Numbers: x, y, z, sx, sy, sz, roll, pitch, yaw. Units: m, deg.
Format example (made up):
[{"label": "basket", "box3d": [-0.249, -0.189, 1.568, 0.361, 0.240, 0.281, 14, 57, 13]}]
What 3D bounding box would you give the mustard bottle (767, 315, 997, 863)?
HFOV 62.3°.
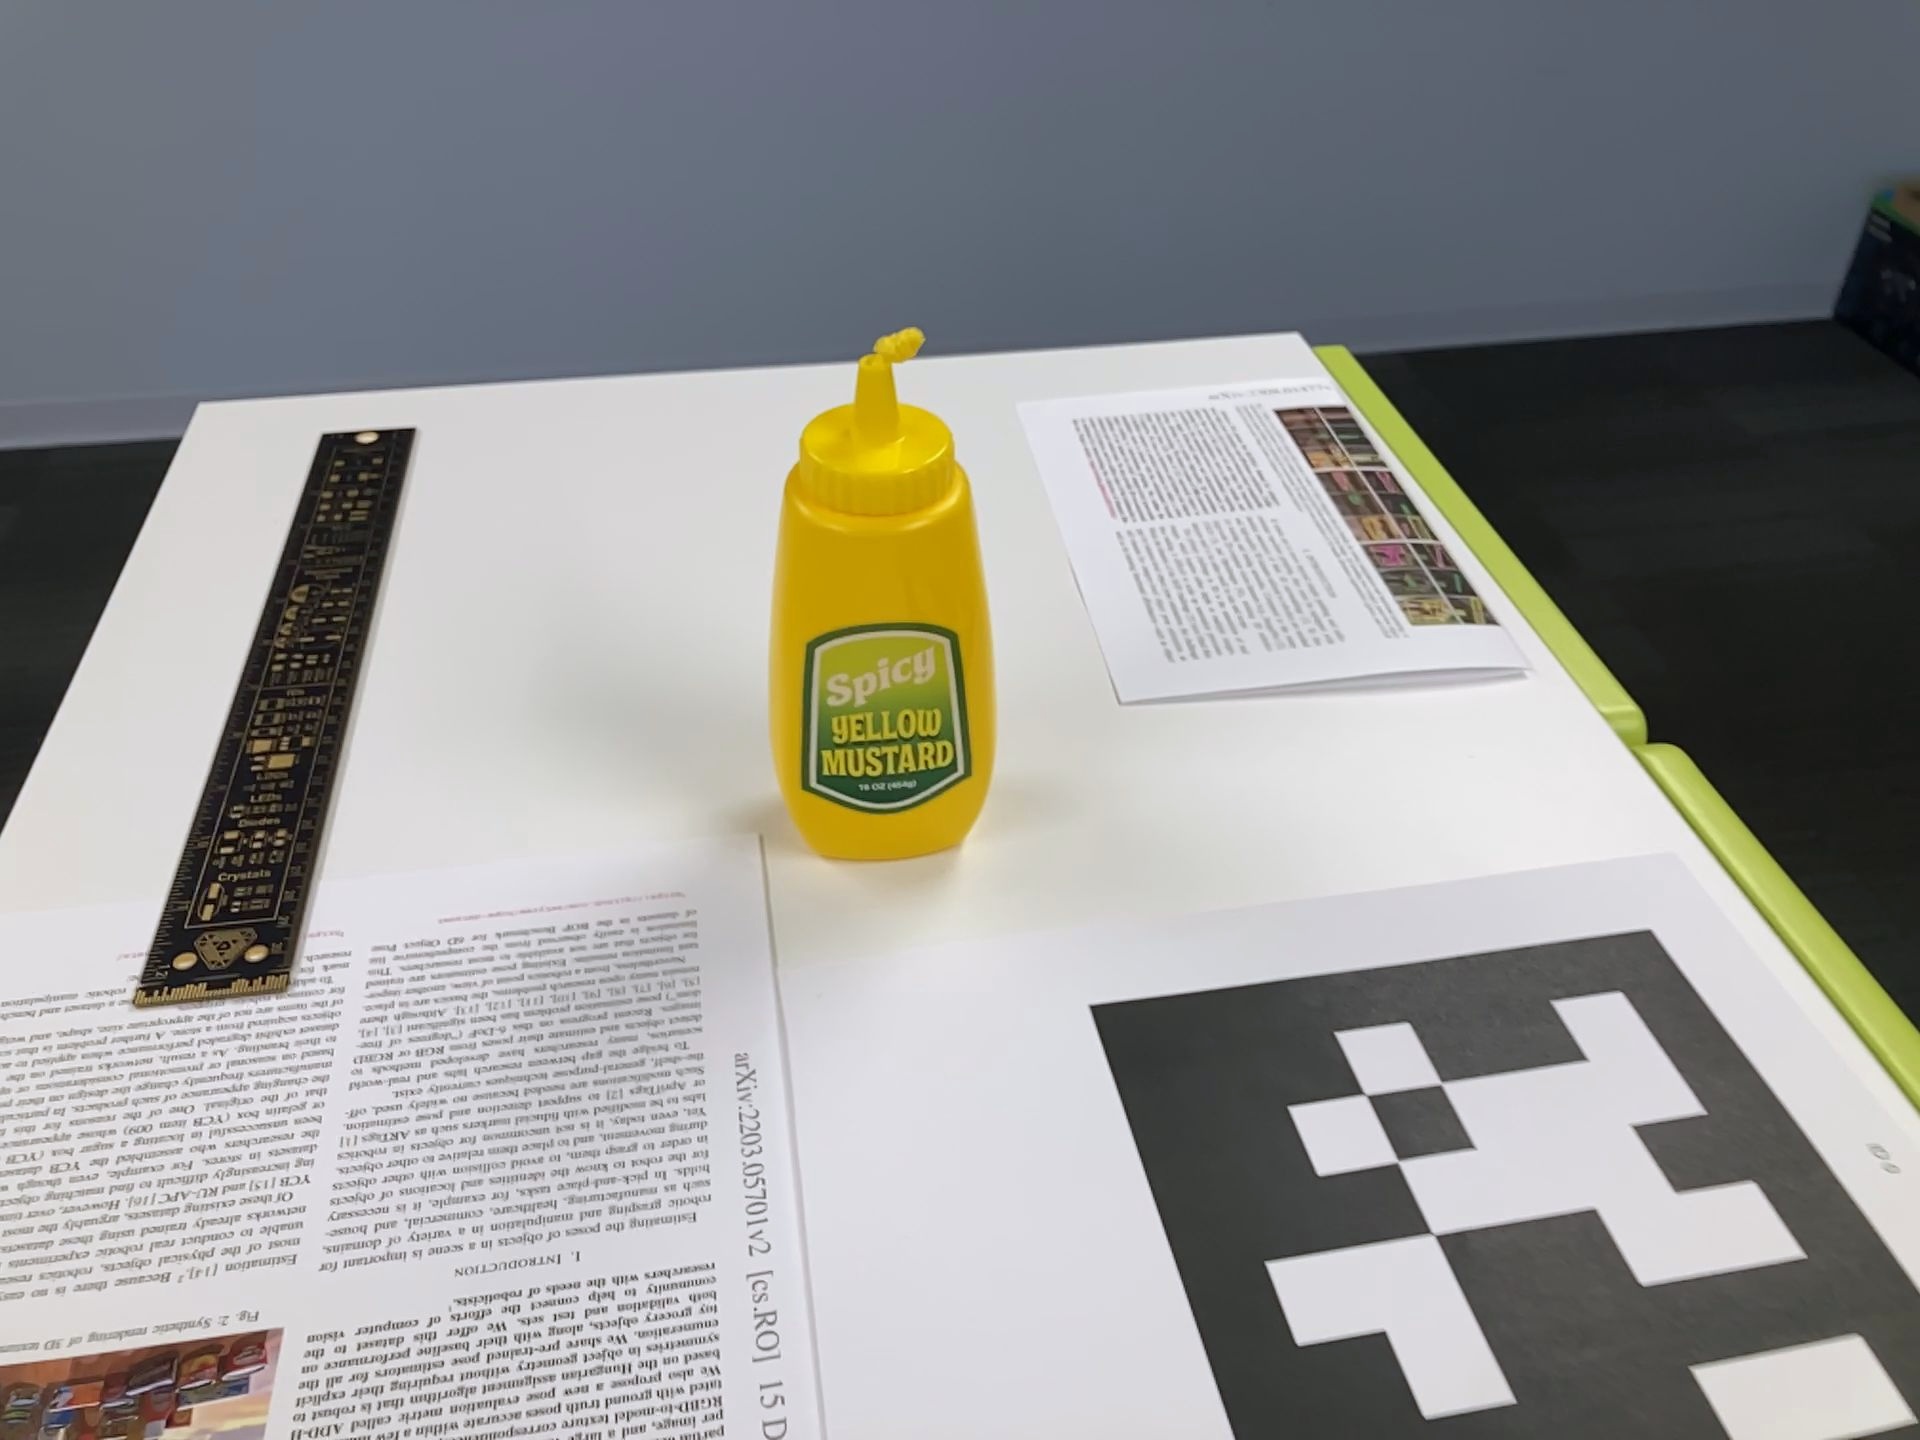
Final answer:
[{"label": "mustard bottle", "box3d": [-0.023, -0.032, 0.428, 0.065, 0.160, 0.049, -4, 39, -4]}]
